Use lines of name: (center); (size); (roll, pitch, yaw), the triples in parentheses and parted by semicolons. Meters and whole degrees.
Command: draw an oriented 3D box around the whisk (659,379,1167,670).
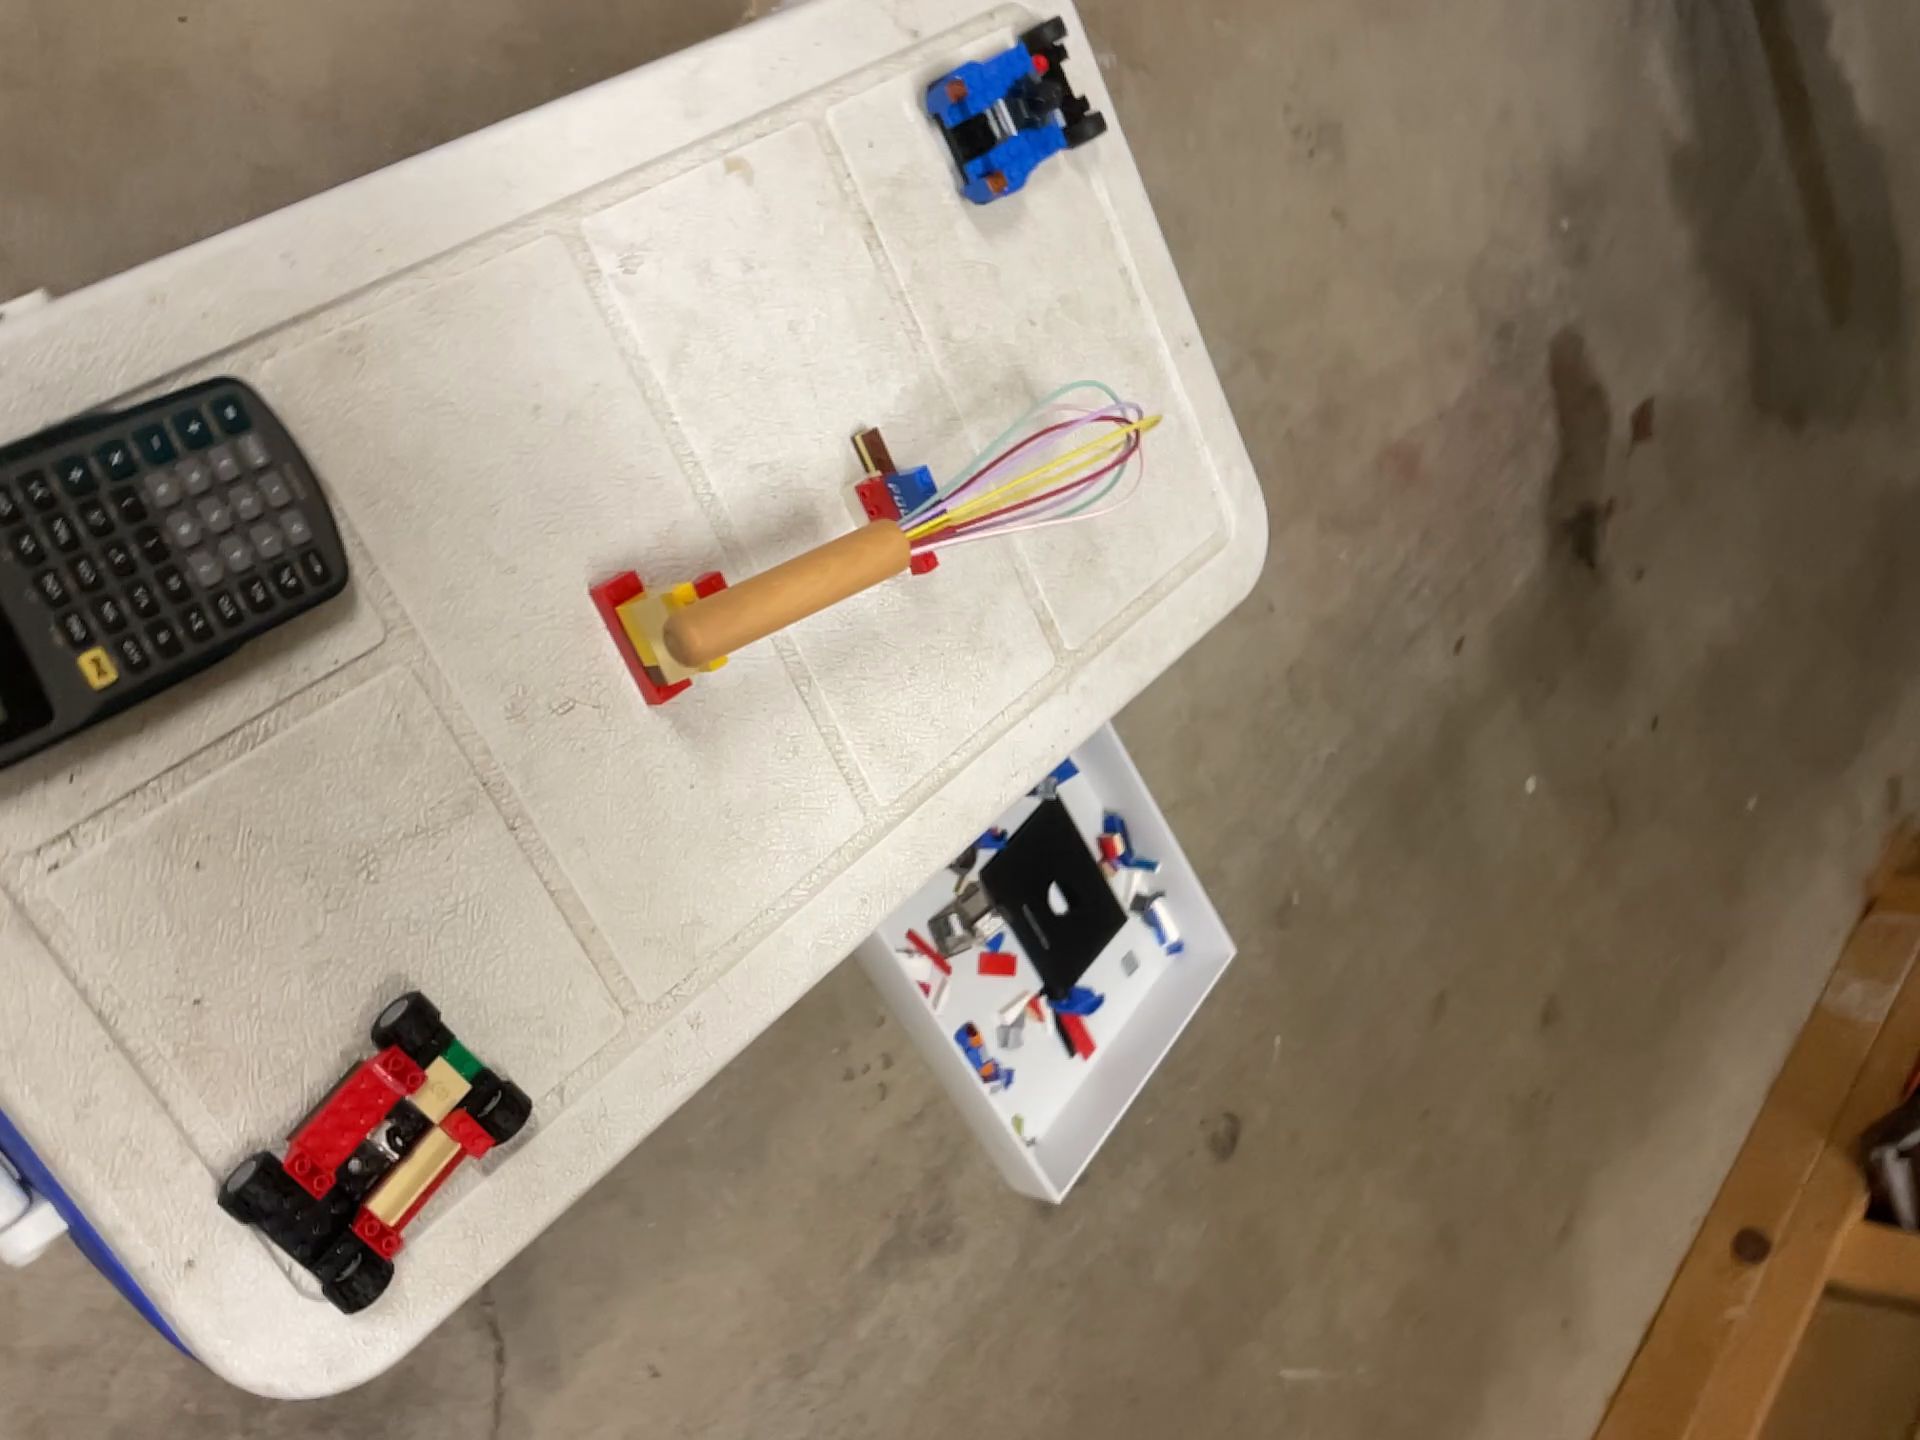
whisk: (-0.008, -0.077, 0.603); (0.245, 0.047, 0.051); (-29, 120, -34)
